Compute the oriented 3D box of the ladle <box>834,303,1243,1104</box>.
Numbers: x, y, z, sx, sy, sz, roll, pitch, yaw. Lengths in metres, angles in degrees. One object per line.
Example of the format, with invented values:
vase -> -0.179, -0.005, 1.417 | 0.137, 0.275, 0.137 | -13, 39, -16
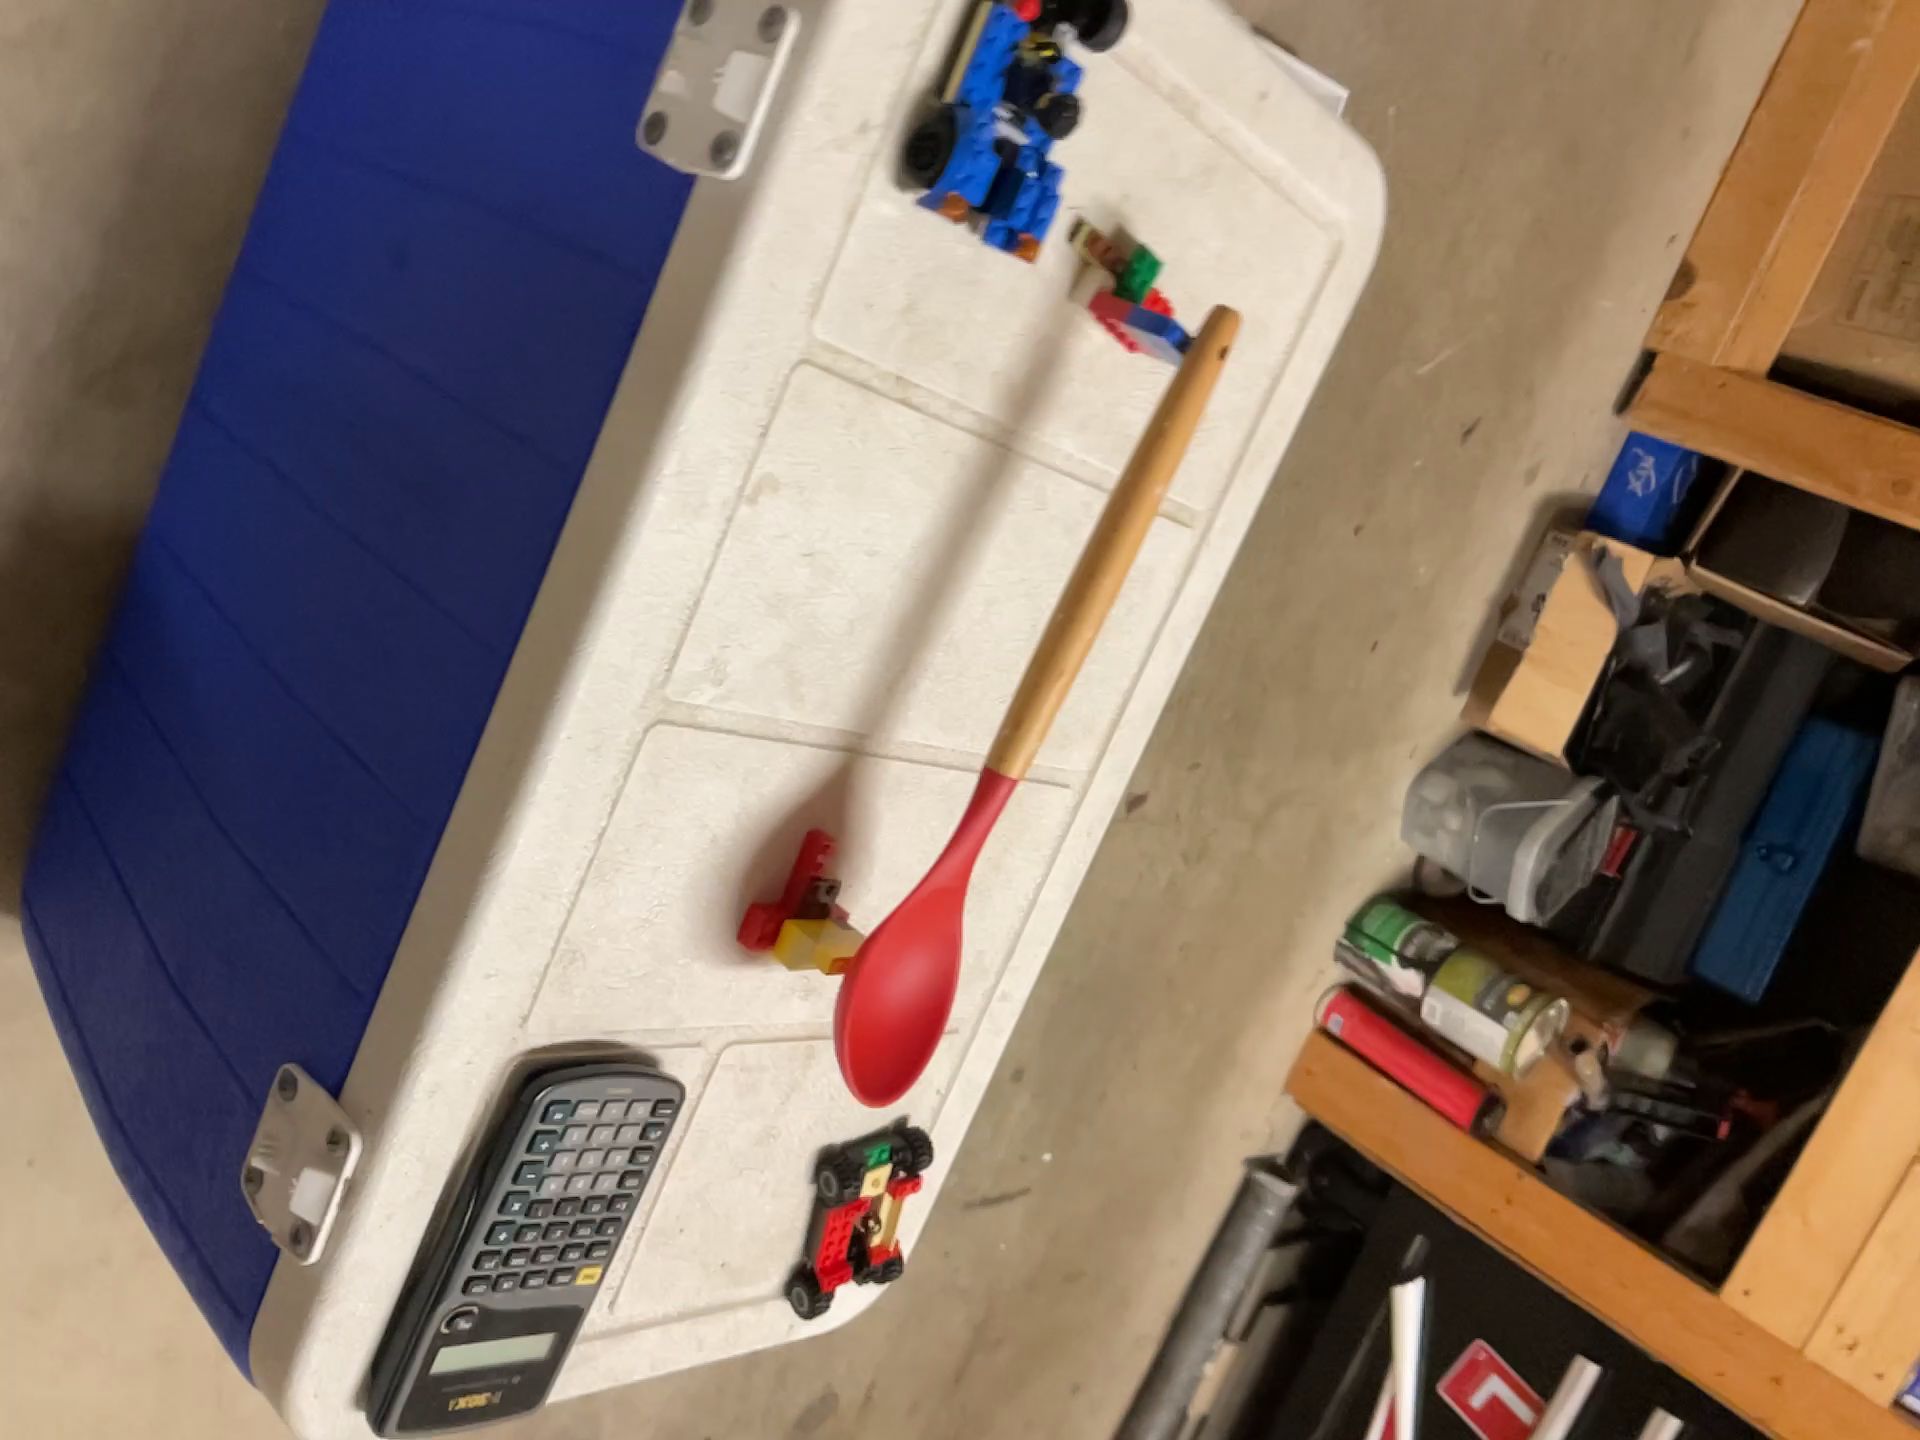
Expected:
ladle -> 0.027, -0.005, 0.582 | 0.069, 0.031, 0.315 | 15, 102, -57
